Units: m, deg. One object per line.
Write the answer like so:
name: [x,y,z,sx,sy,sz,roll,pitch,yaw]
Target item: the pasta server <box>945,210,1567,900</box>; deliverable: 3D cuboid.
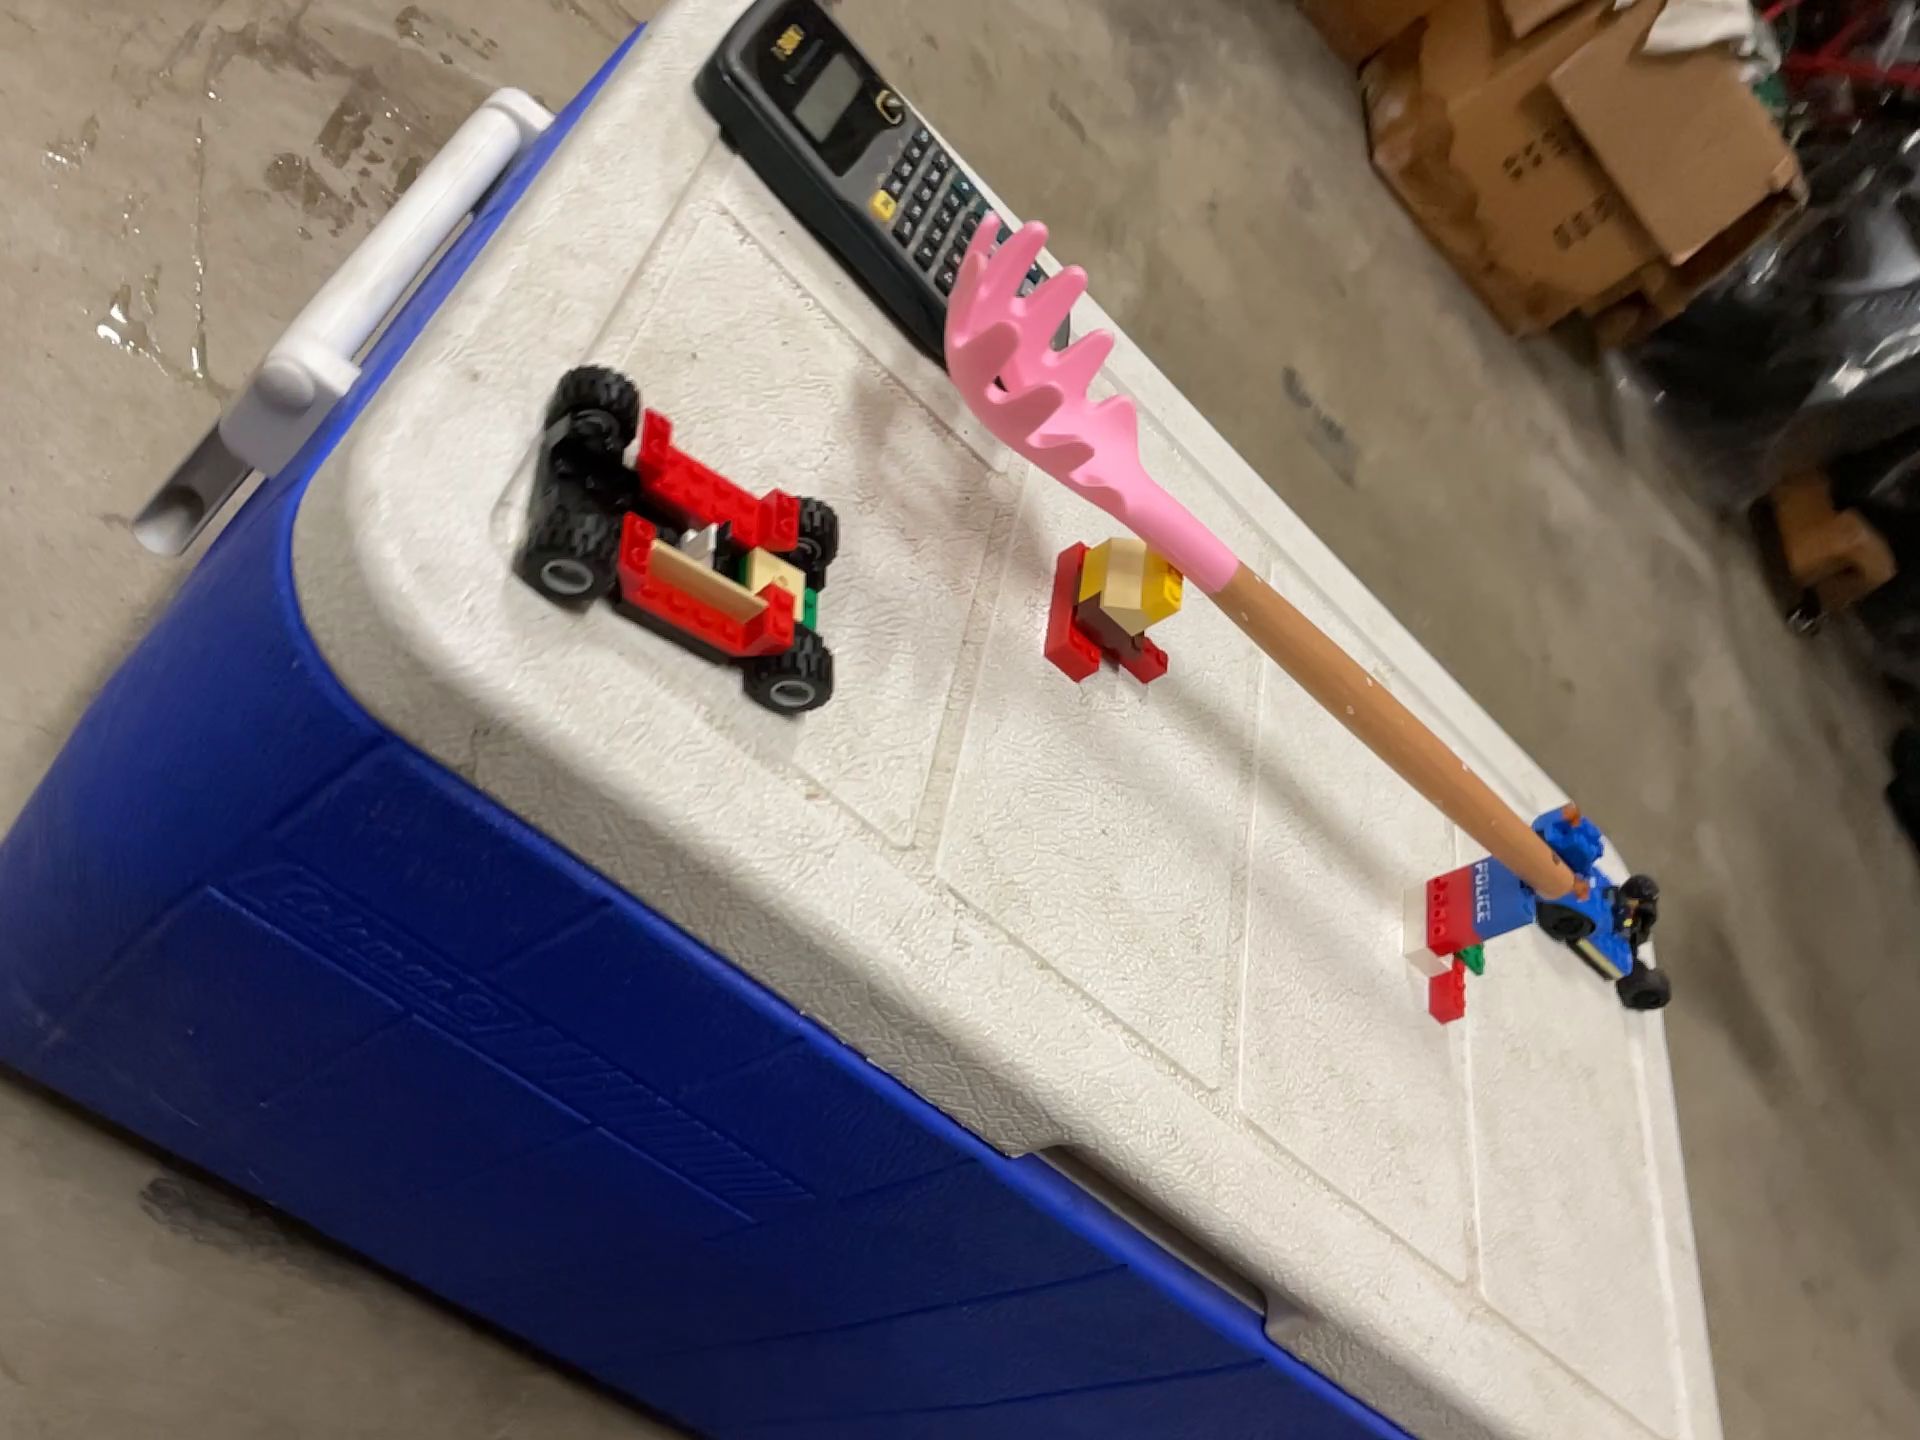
pasta server: [0.105,-0.033,0.501,0.316,0.040,0.060,39,42,-25]
